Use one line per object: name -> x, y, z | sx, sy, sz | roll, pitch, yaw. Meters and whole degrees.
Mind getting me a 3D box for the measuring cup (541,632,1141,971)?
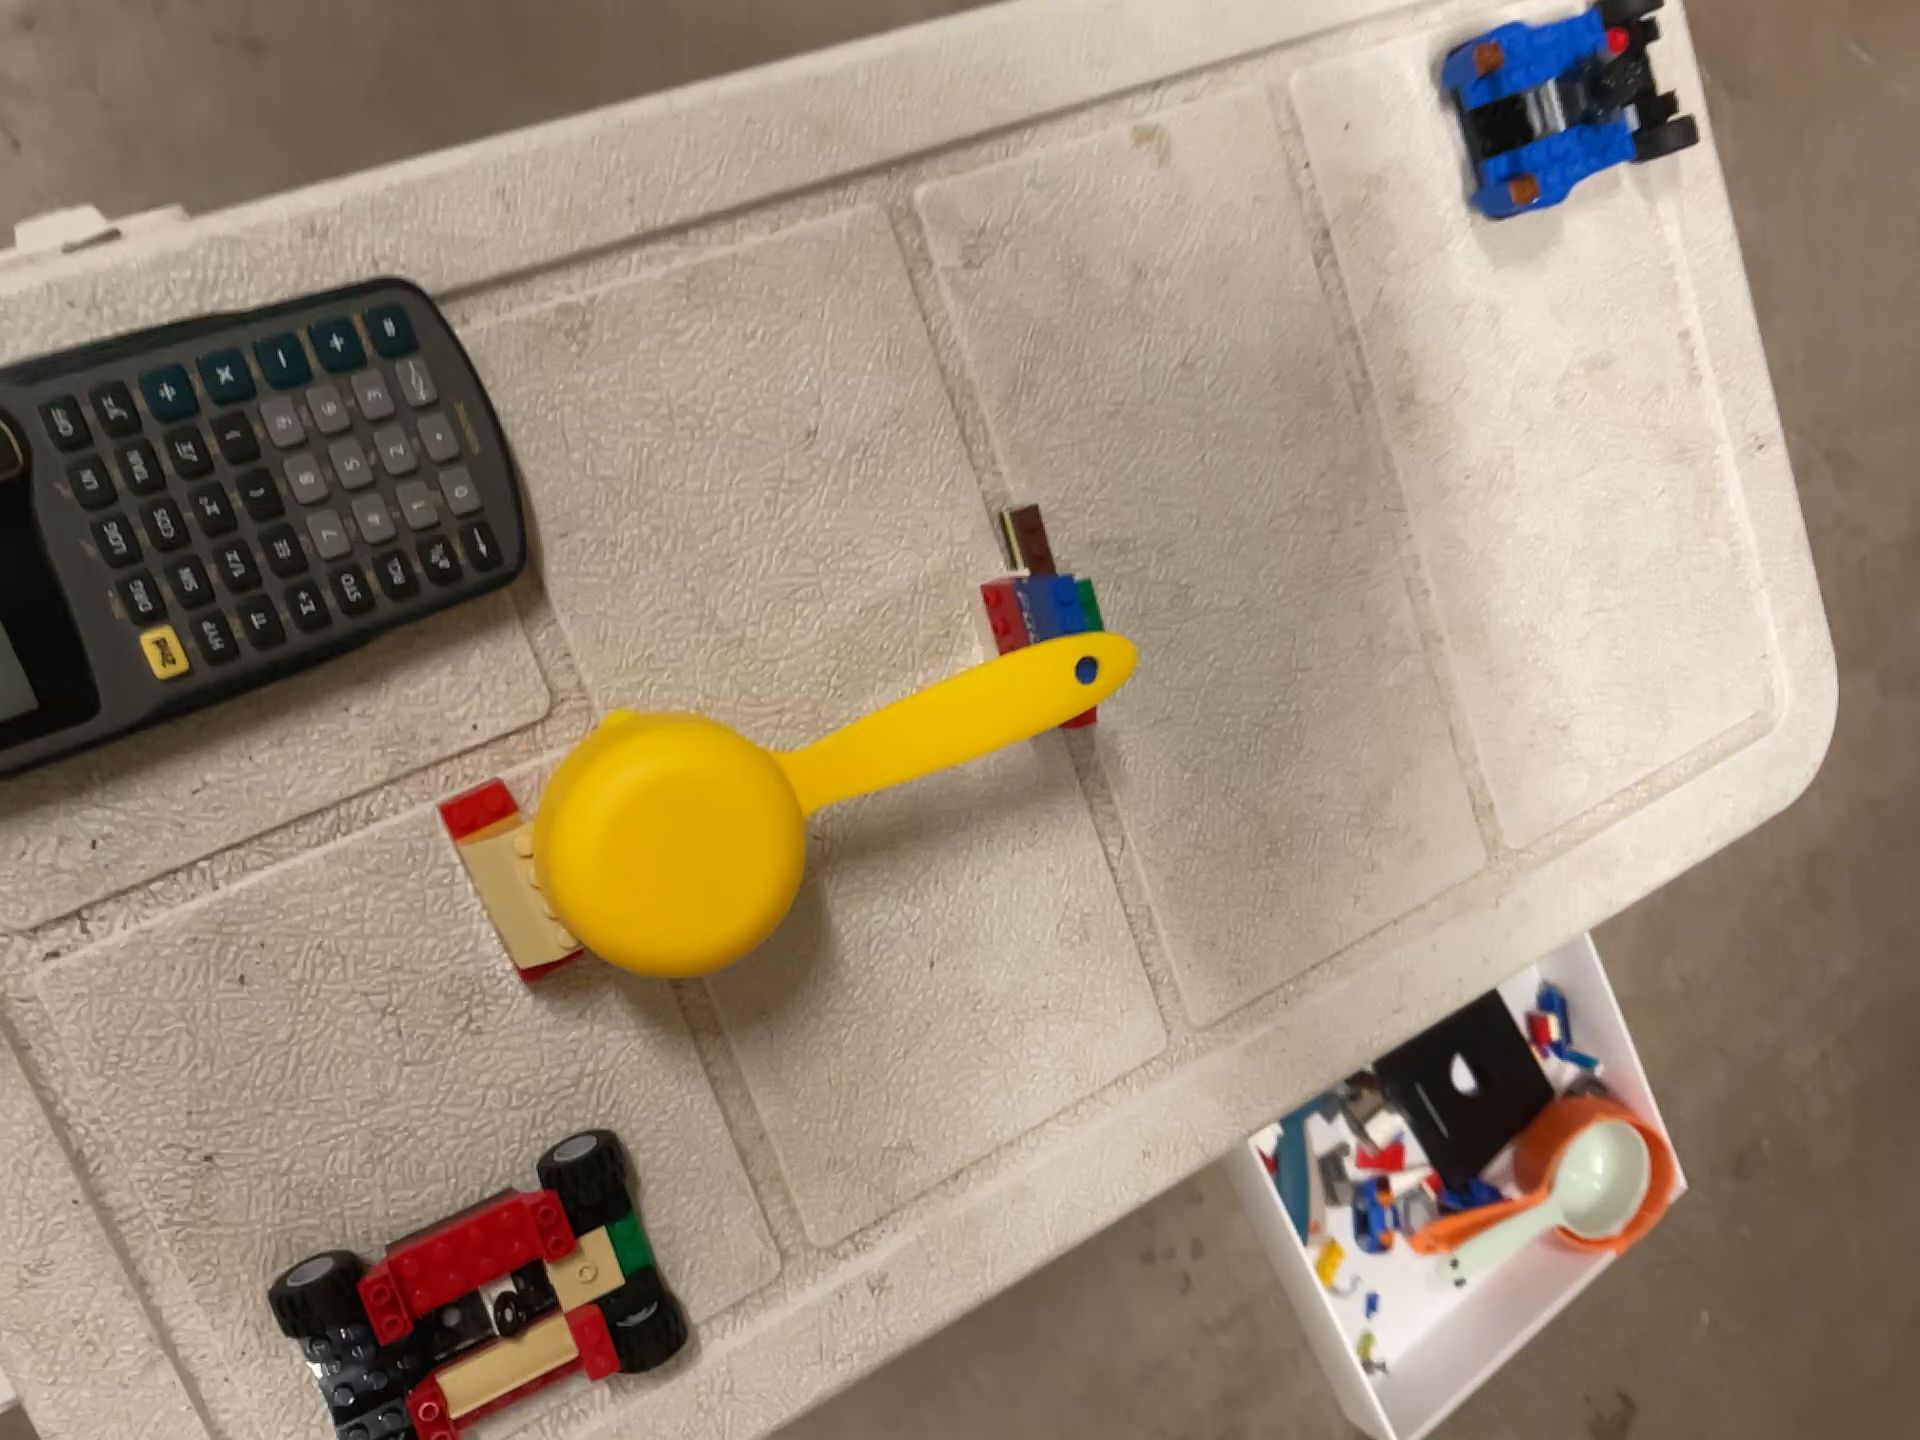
measuring cup -> -0.021, 0.011, 0.377 | 0.156, 0.029, 0.062 | -22, 102, -16
